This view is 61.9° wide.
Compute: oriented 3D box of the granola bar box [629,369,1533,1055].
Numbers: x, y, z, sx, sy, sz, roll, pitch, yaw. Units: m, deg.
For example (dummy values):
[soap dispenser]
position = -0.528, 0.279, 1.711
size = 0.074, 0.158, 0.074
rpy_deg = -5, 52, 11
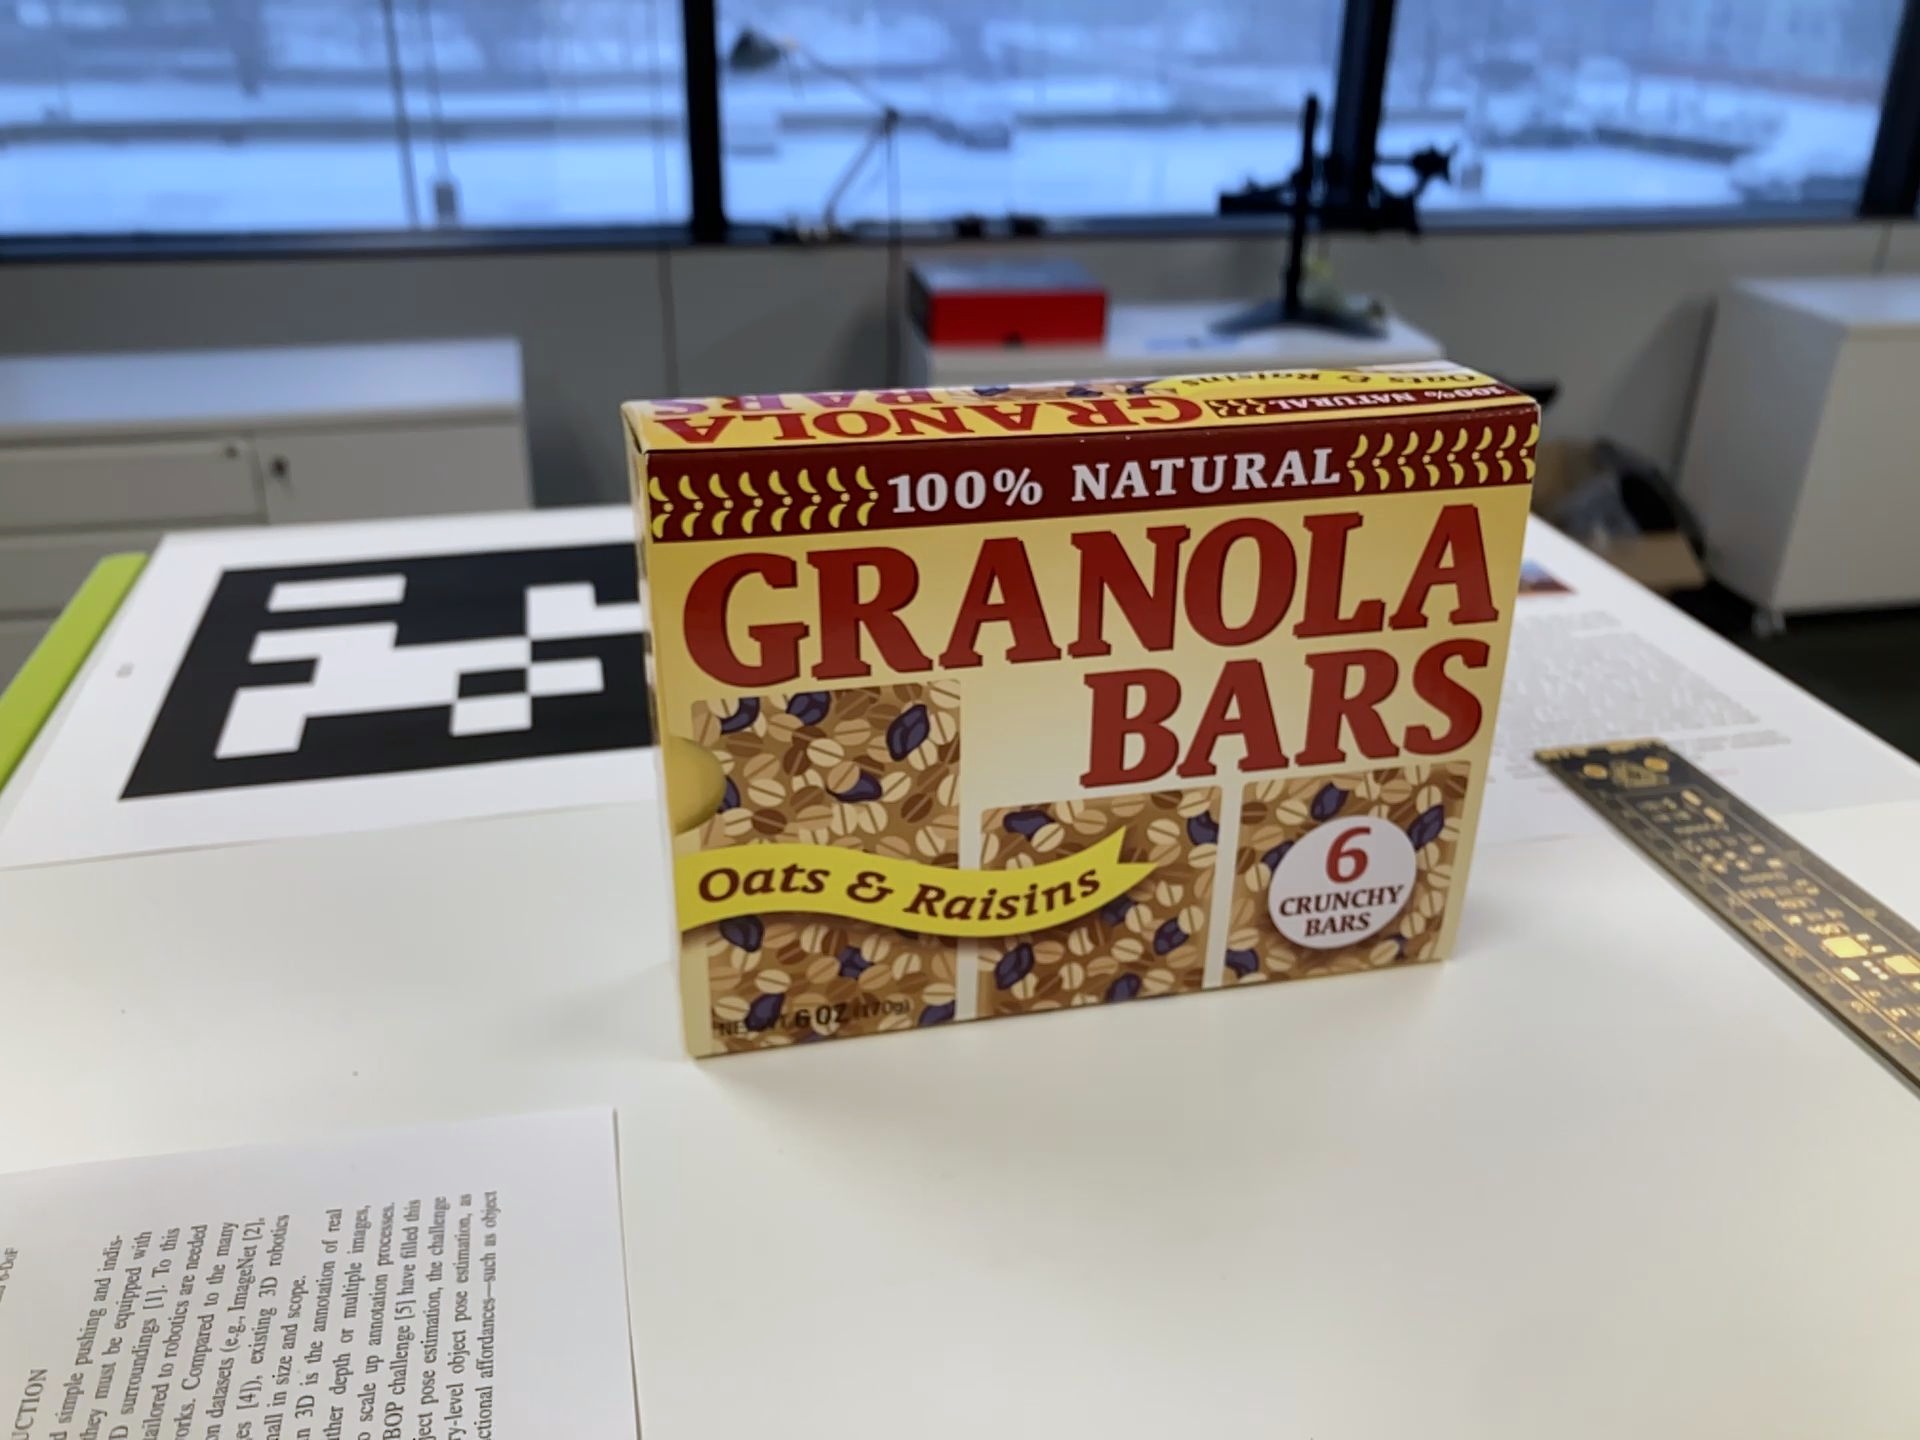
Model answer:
[granola bar box]
position = 0.023, -0.003, 0.321
size = 0.165, 0.124, 0.039
rpy_deg = -5, 25, -12
